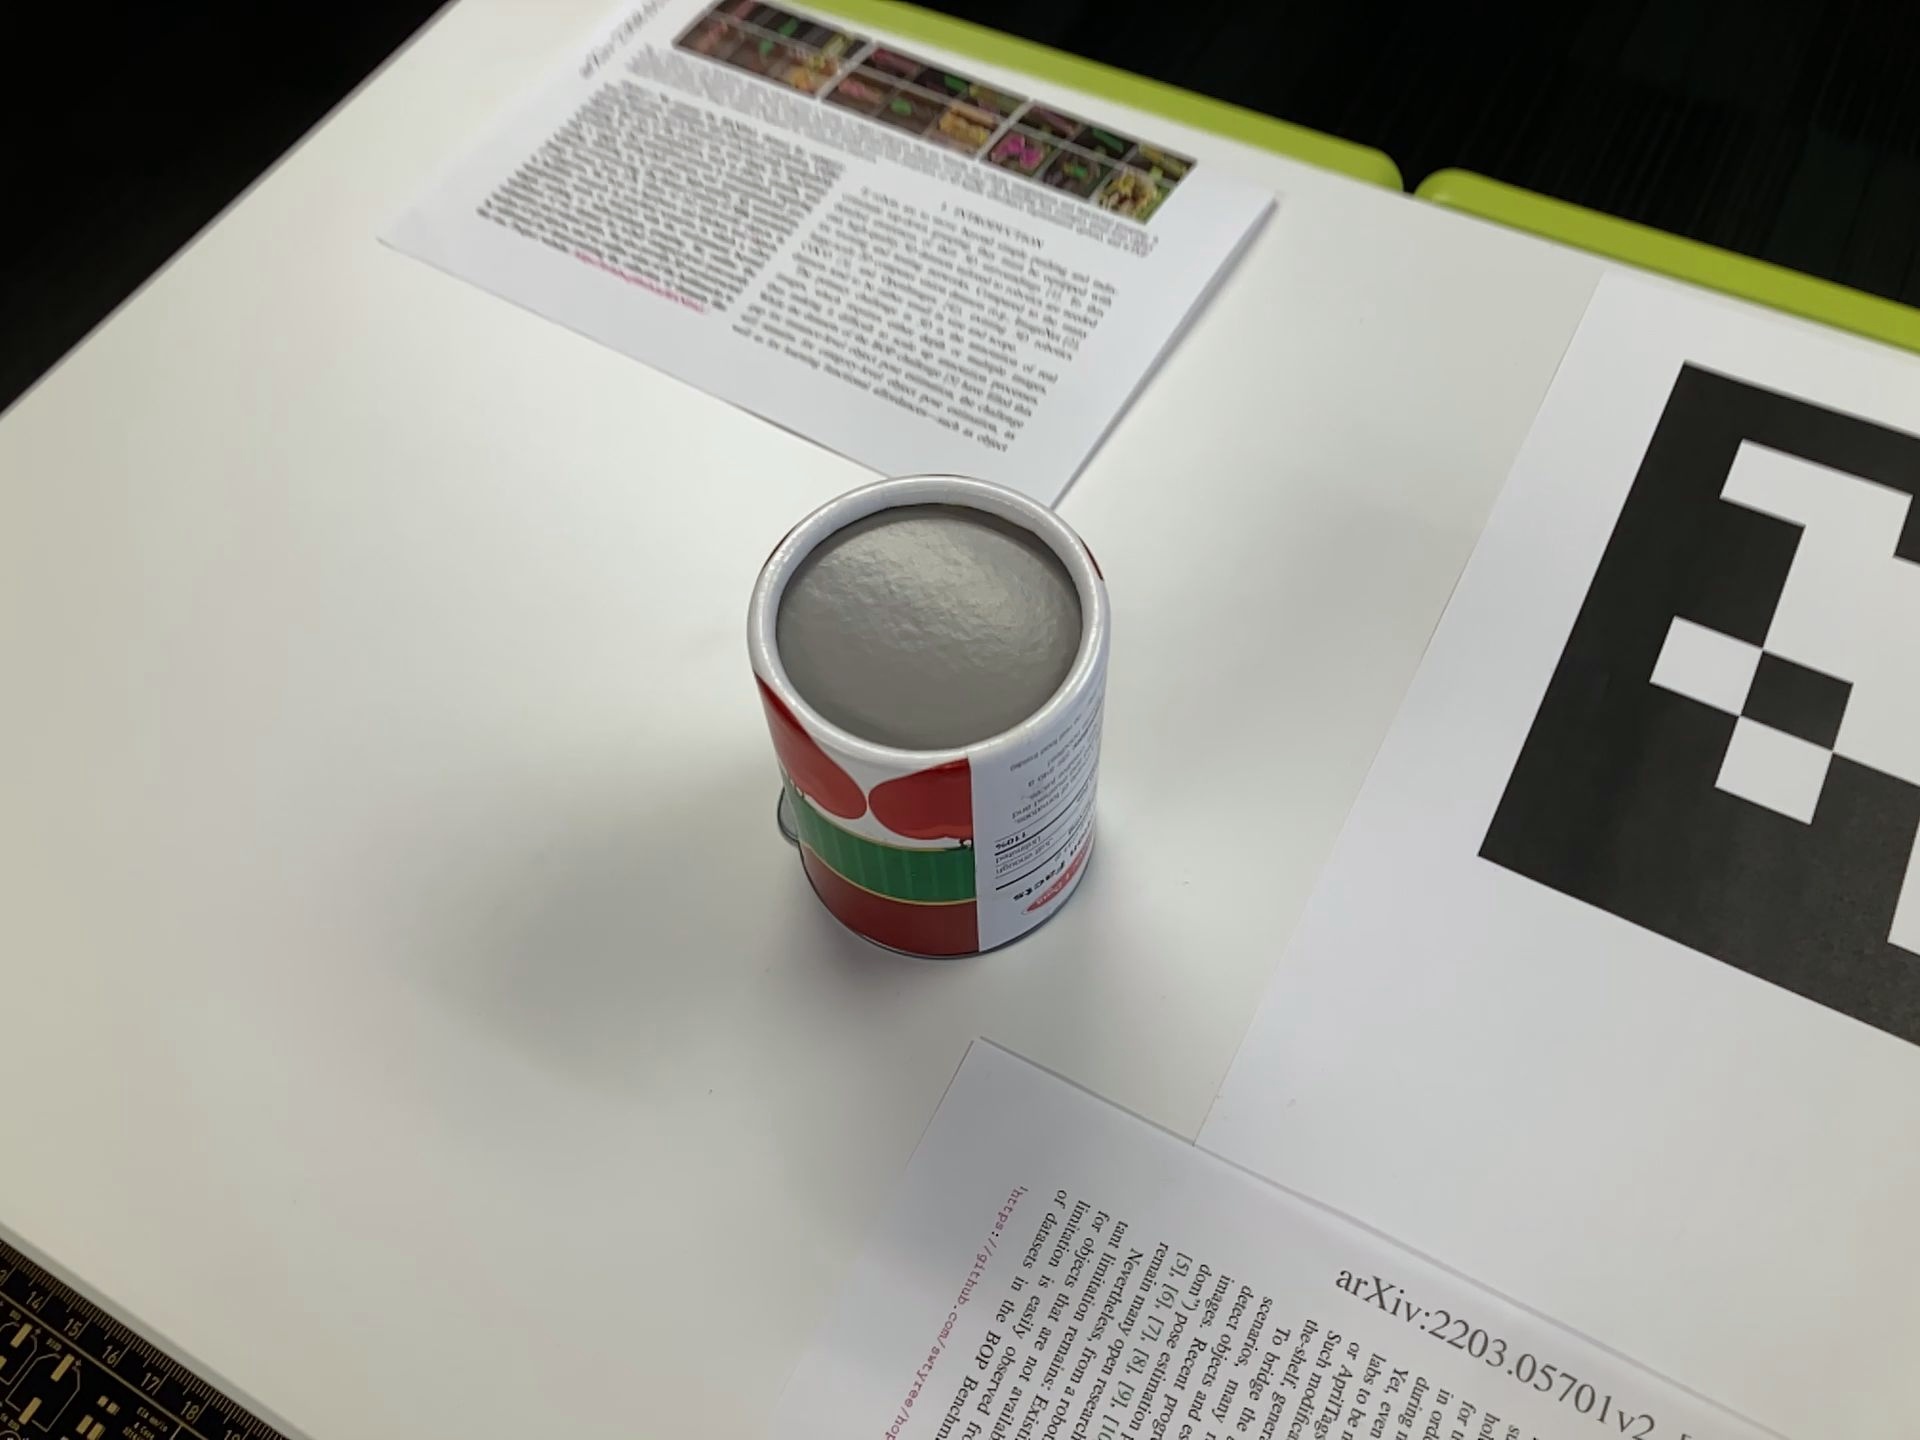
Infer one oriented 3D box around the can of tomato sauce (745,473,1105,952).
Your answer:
[{"bbox_3d":[-0.006,0.000,0.322,0.071,0.083,0.071,-2,60,3],"label":"can of tomato sauce"}]
